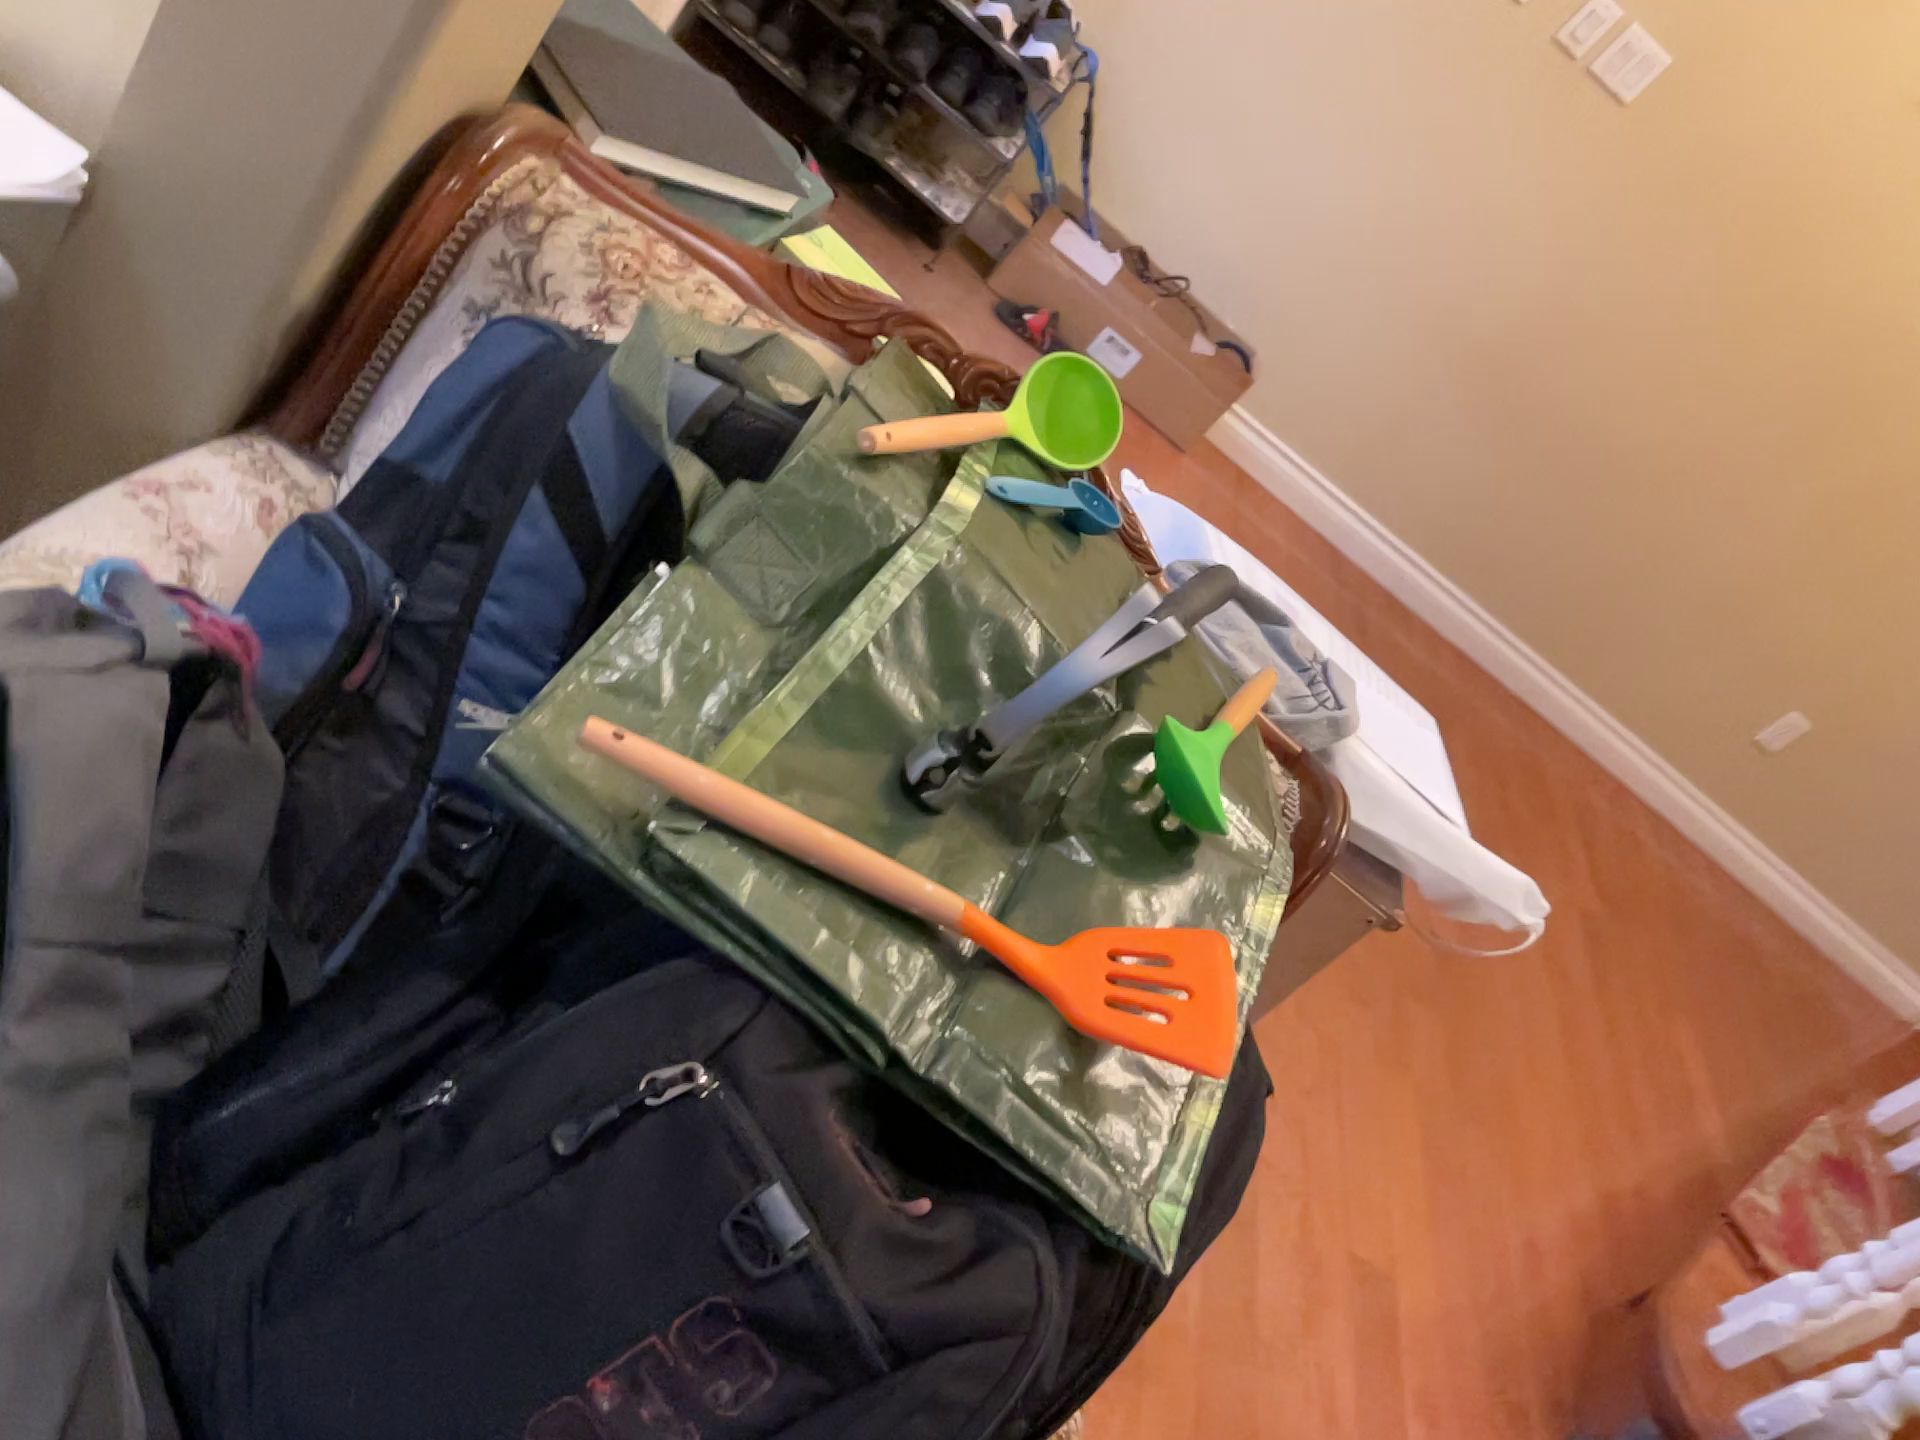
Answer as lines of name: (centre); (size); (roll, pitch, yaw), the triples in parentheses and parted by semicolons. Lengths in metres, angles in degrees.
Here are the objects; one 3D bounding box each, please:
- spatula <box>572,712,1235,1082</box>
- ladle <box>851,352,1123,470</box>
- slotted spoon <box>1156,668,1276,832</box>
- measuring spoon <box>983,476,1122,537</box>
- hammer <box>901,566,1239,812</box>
spatula: (-0.018, 0.071, 0.694); (0.322, 0.041, 0.081); (29, 42, -18)
ladle: (0.022, -0.175, 0.927); (0.320, 0.062, 0.078); (-29, 101, -64)
slotted spoon: (0.160, 0.004, 0.940); (0.070, 0.031, 0.313); (61, 22, -2)
measuring spoon: (0.050, -0.127, 0.941); (0.128, 0.021, 0.042); (0, 51, -51)
hammer: (0.104, -0.048, 0.911); (0.036, 0.149, 0.409); (56, 25, 1)
